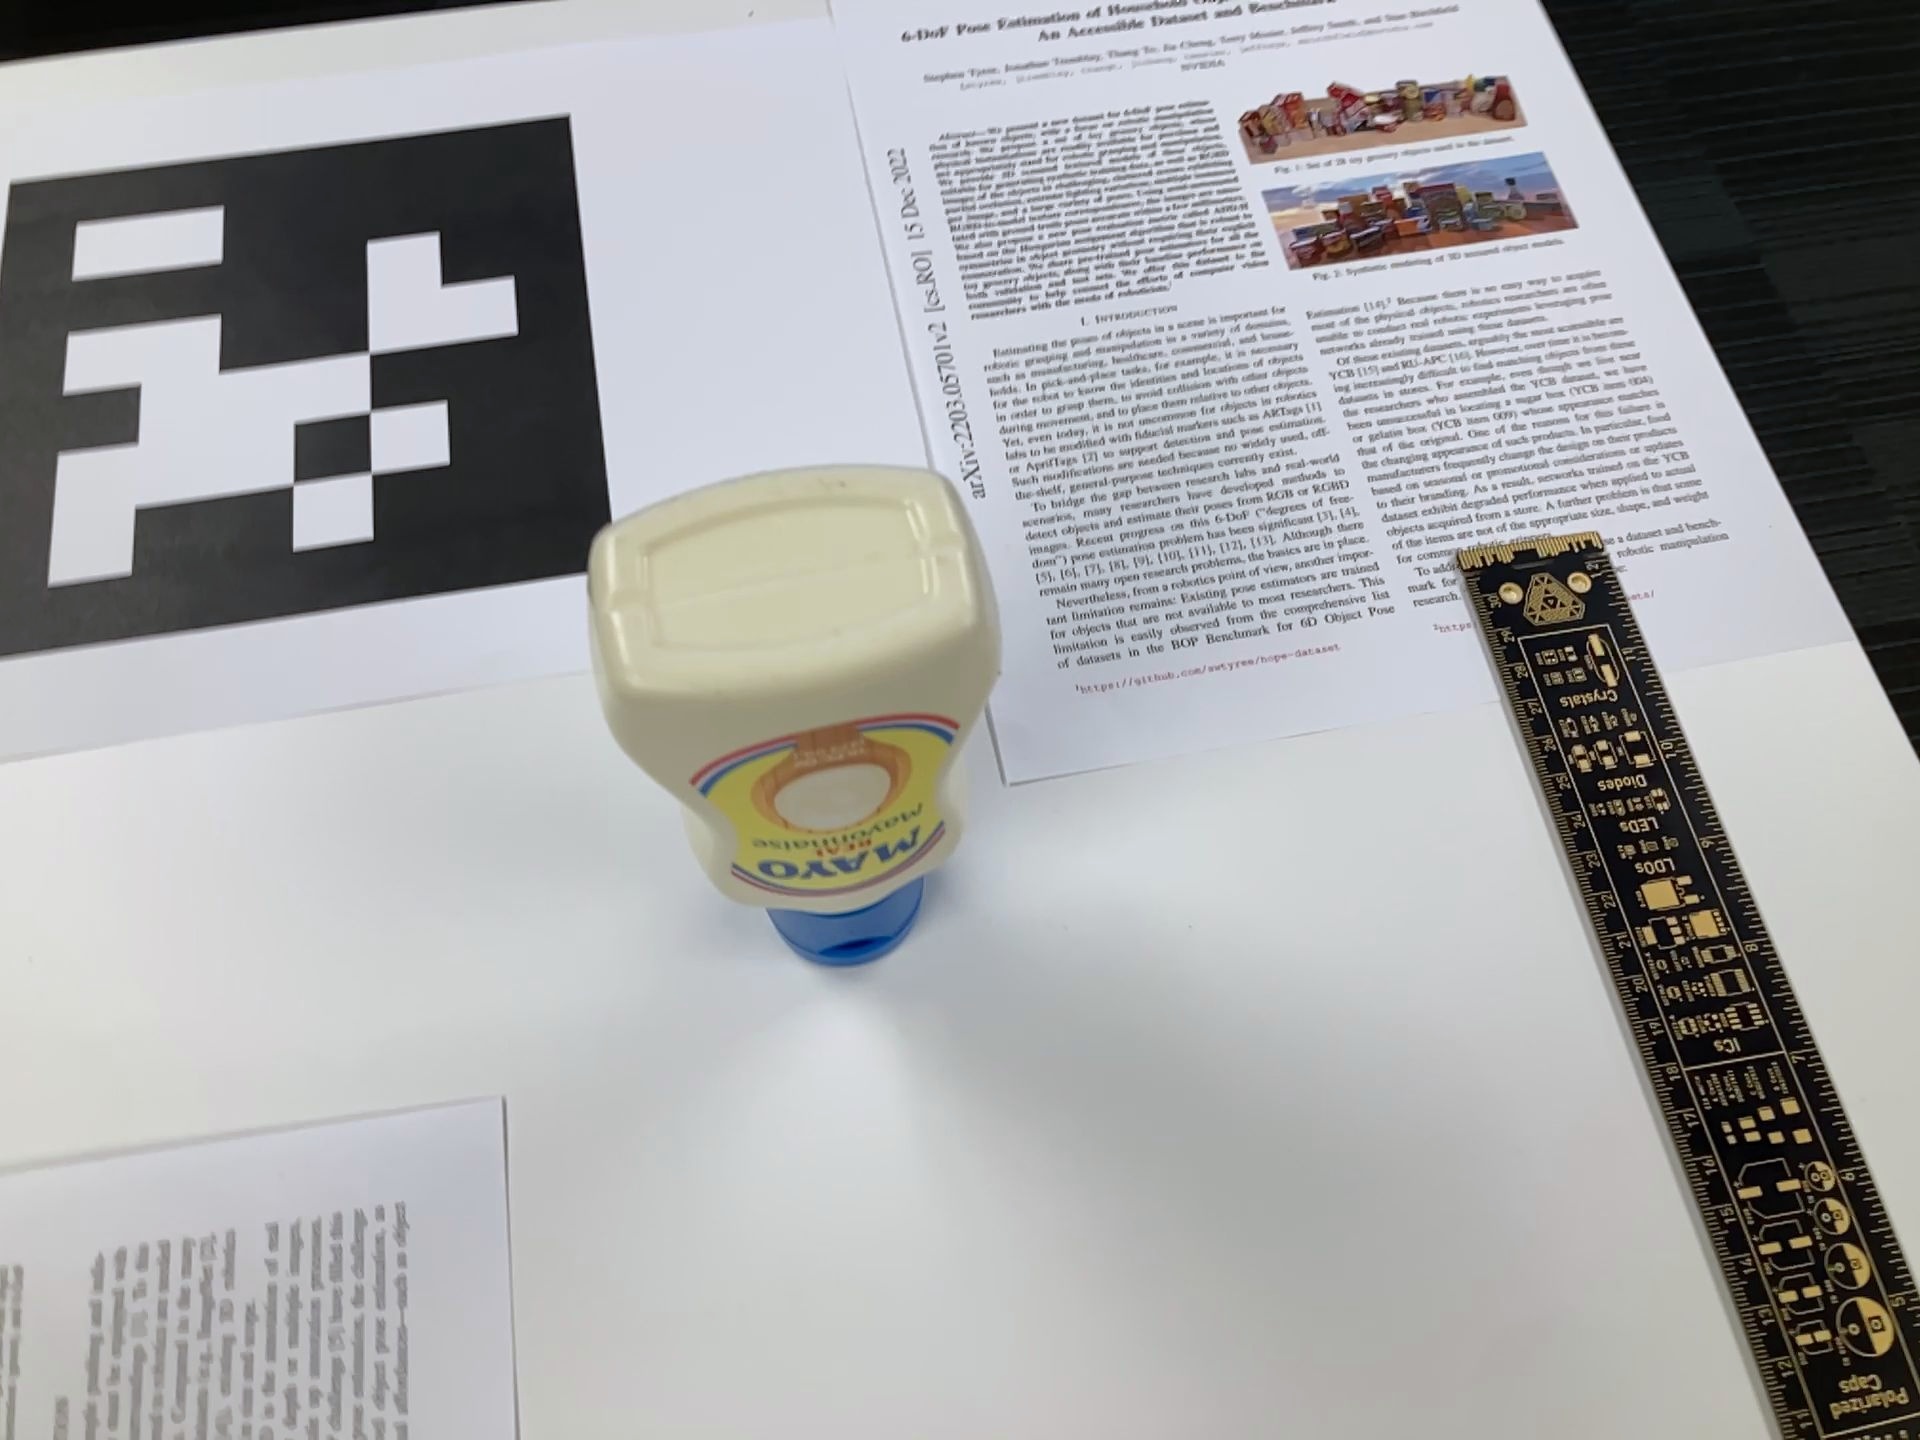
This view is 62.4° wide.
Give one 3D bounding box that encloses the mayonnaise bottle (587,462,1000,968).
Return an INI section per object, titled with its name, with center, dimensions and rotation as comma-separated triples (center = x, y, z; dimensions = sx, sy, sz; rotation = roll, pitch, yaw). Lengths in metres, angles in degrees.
[mayonnaise bottle]
center = -0.027, 0.009, 0.302
dimensions = 0.065, 0.148, 0.041
rotation = -11, 65, -5
